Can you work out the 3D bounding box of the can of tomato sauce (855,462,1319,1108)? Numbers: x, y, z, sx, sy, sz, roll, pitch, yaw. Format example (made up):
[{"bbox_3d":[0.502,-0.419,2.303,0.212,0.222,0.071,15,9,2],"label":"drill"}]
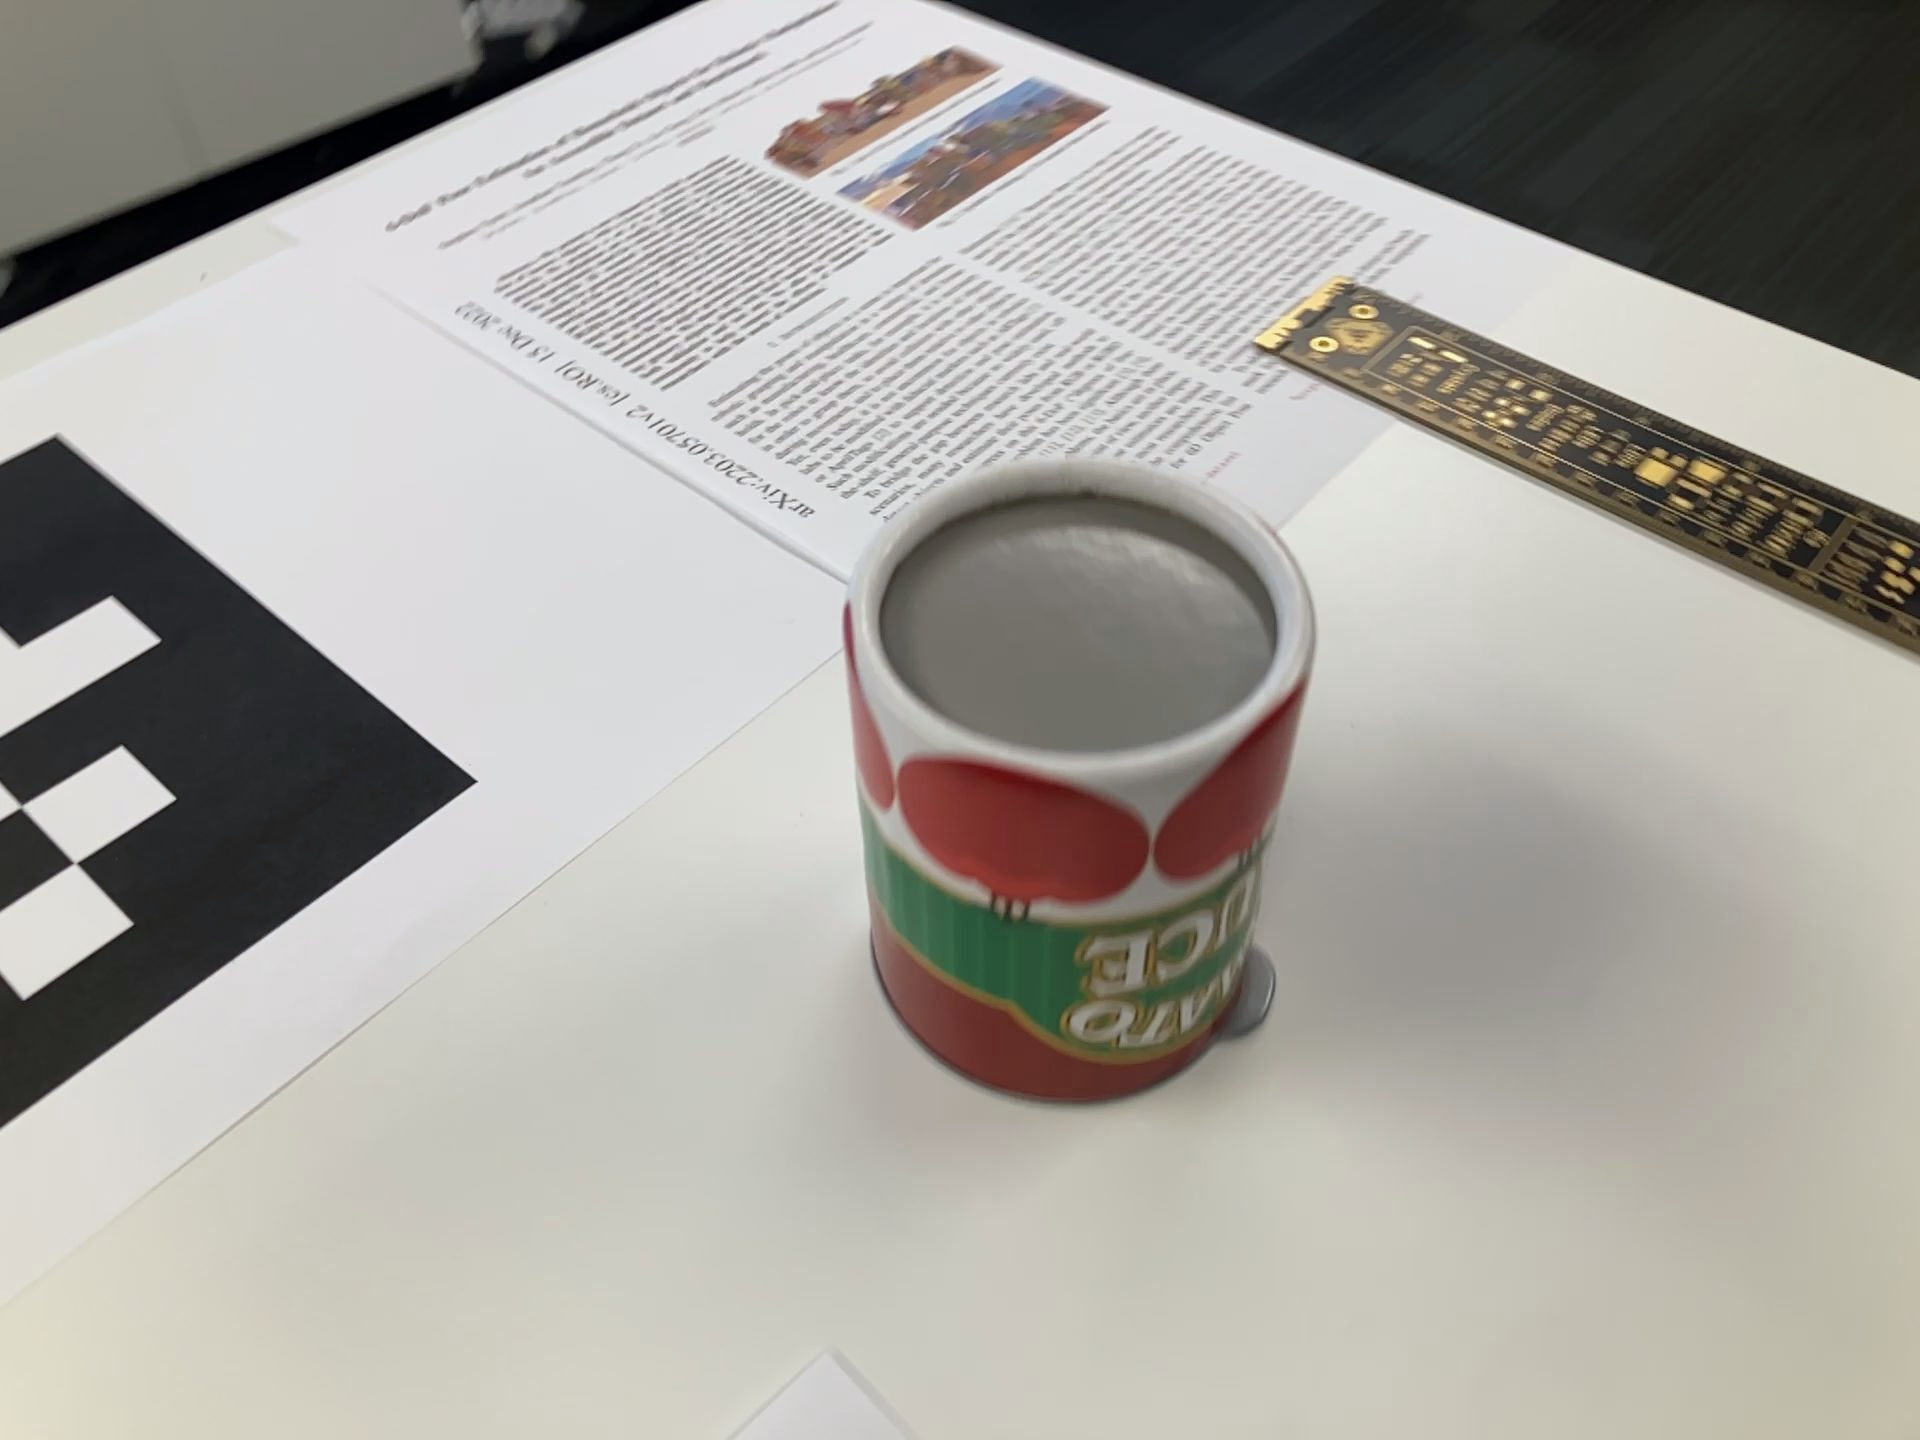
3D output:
[{"bbox_3d":[0.018,0.012,0.251,0.071,0.083,0.071,1,47,-1],"label":"can of tomato sauce"}]
